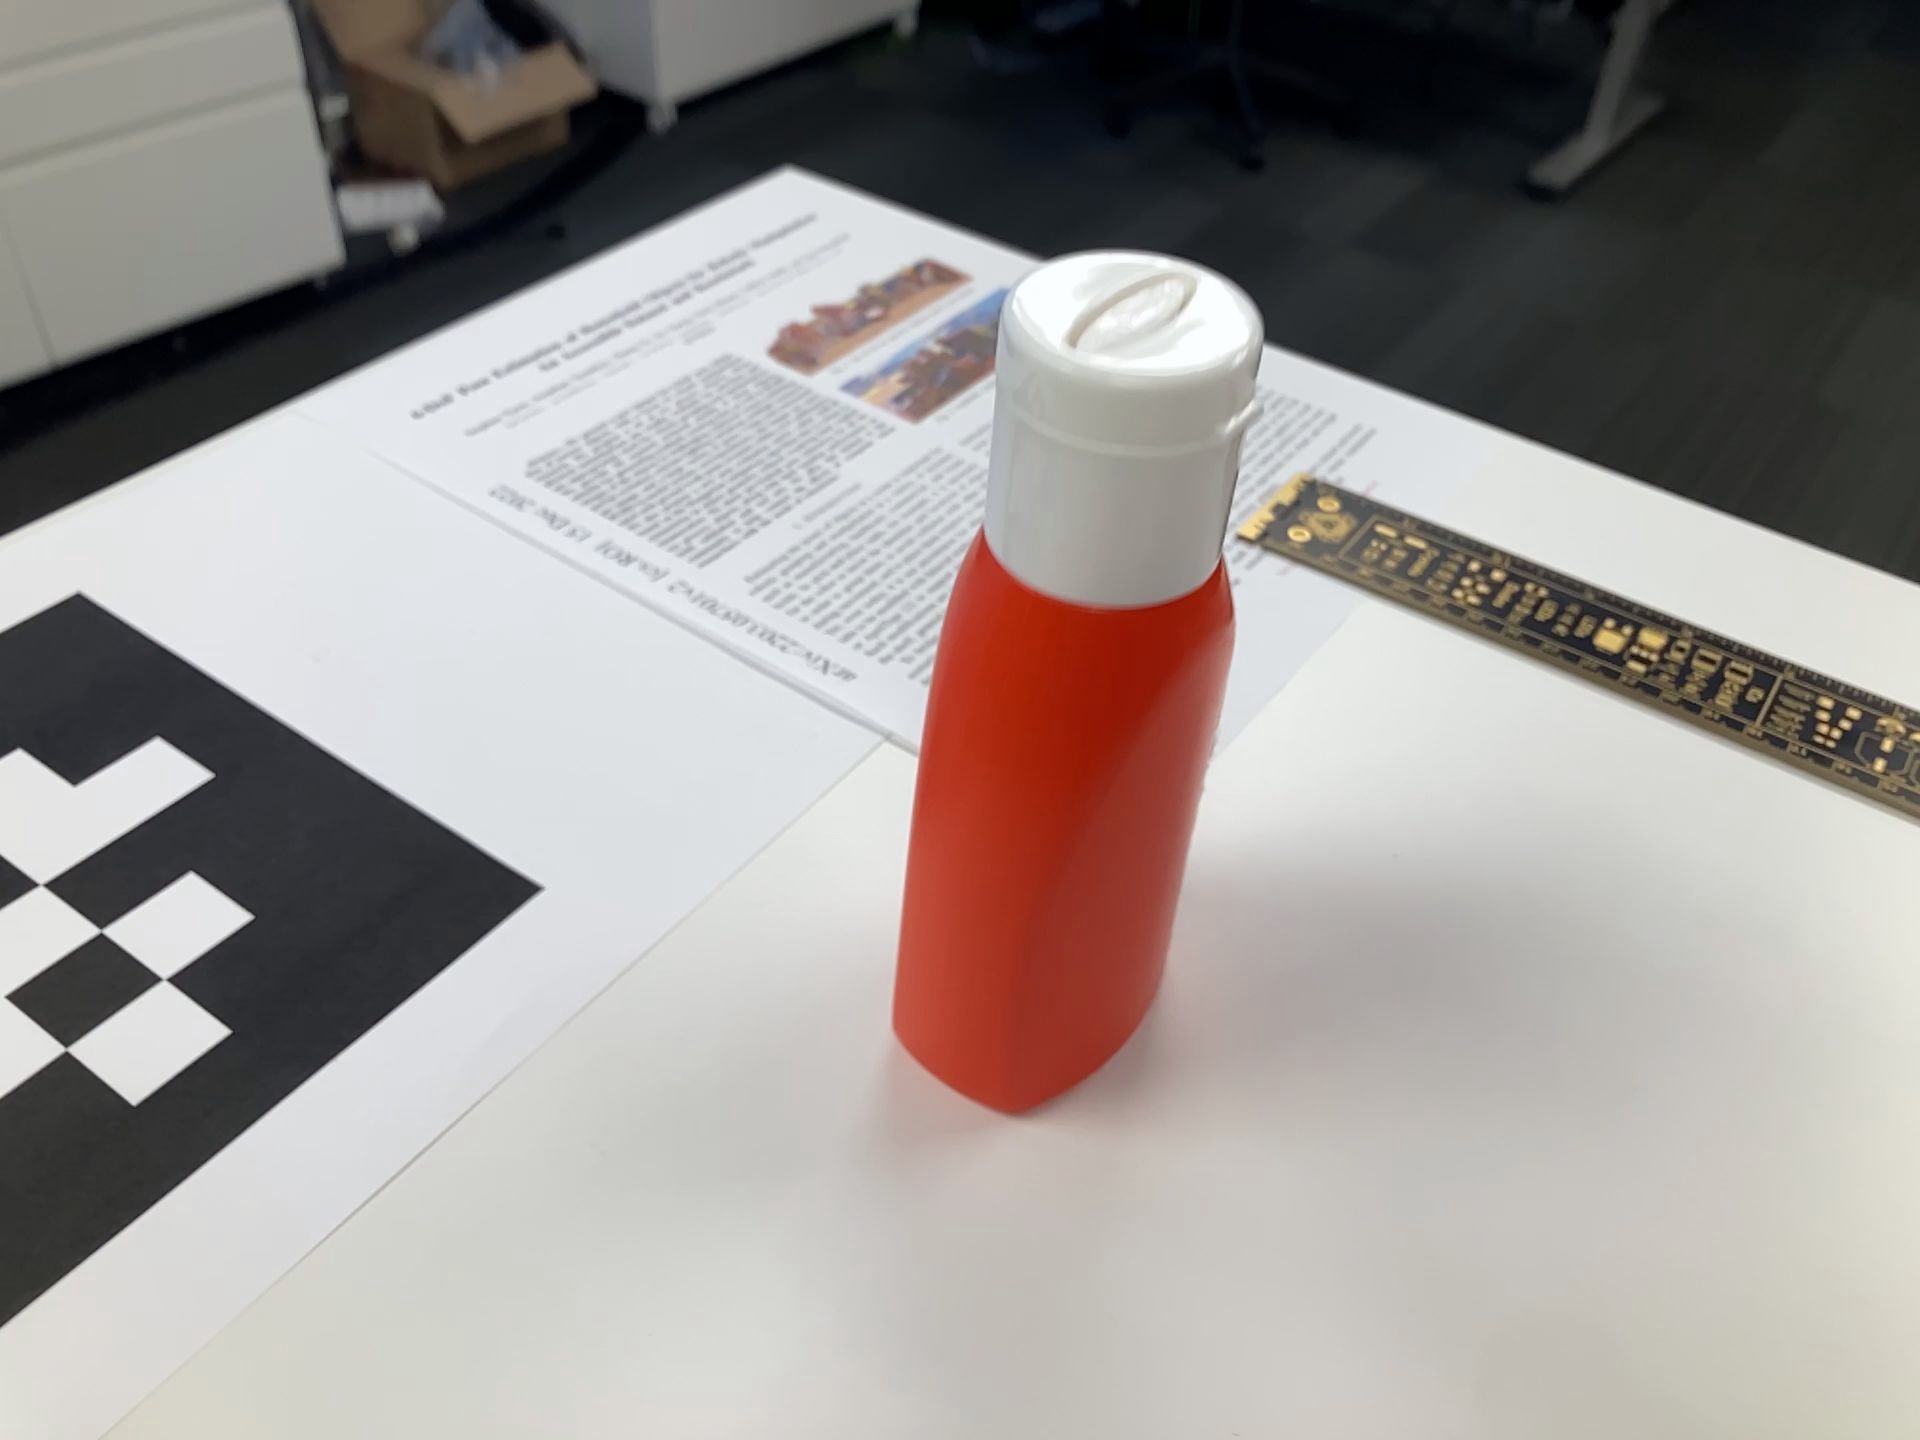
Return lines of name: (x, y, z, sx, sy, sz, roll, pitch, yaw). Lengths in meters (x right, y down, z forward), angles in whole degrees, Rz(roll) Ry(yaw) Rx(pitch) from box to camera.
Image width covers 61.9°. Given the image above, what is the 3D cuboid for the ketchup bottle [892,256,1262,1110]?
ketchup bottle: (0.020, -0.001, 0.267, 0.043, 0.149, 0.065, 29, 48, 24)
